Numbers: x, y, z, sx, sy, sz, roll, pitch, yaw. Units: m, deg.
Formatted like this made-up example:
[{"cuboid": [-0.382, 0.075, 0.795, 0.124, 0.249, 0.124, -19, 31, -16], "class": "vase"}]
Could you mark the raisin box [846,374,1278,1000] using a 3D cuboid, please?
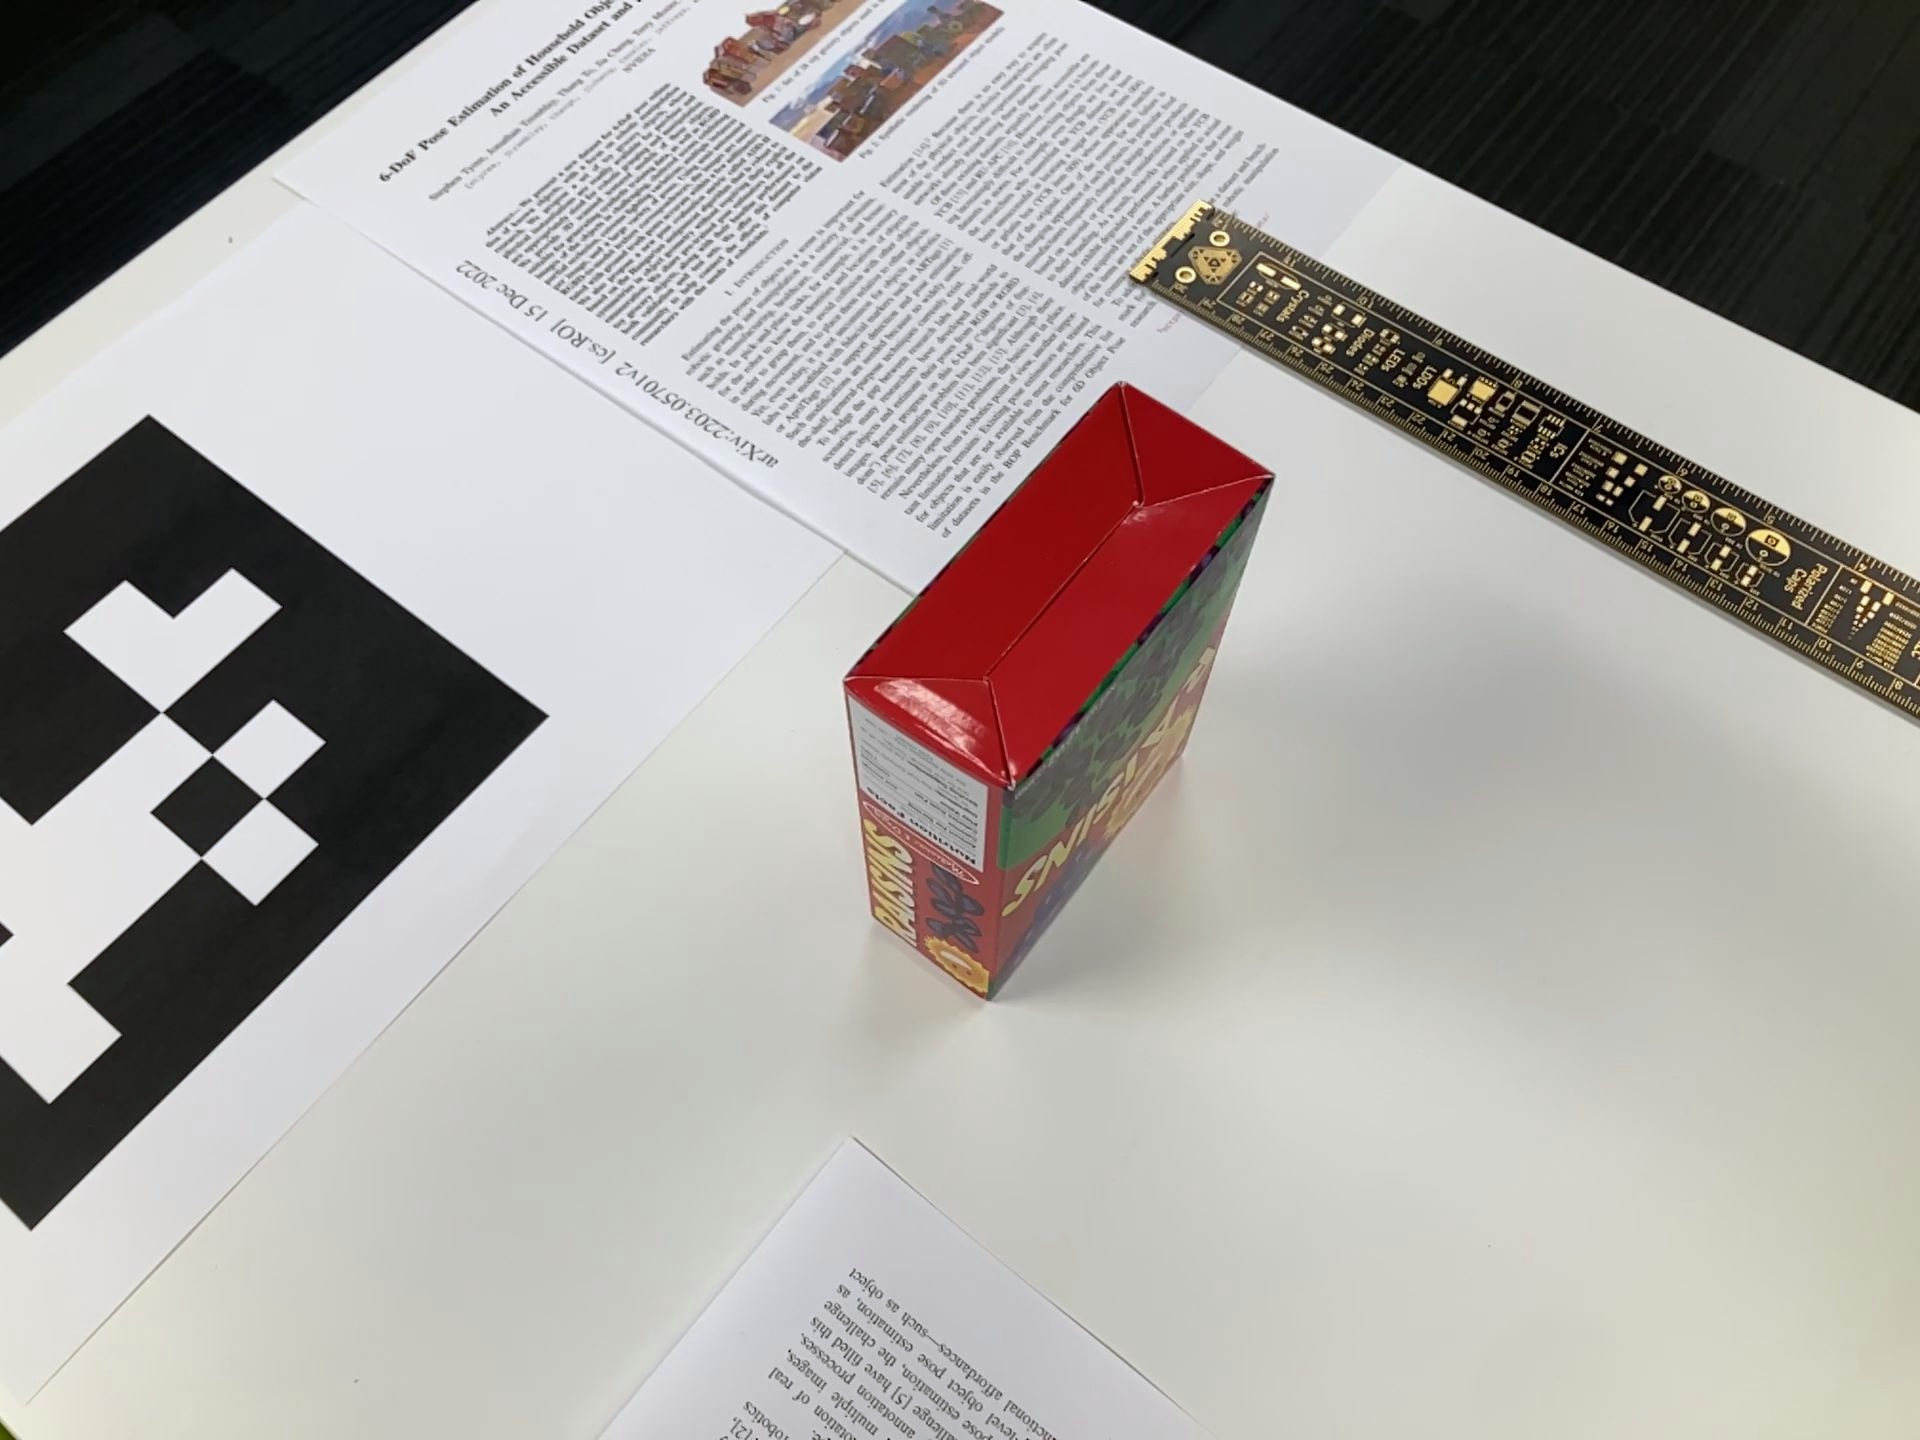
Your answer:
[{"cuboid": [0.018, 0.000, 0.338, 0.040, 0.123, 0.086, 34, 68, 15], "class": "raisin box"}]
